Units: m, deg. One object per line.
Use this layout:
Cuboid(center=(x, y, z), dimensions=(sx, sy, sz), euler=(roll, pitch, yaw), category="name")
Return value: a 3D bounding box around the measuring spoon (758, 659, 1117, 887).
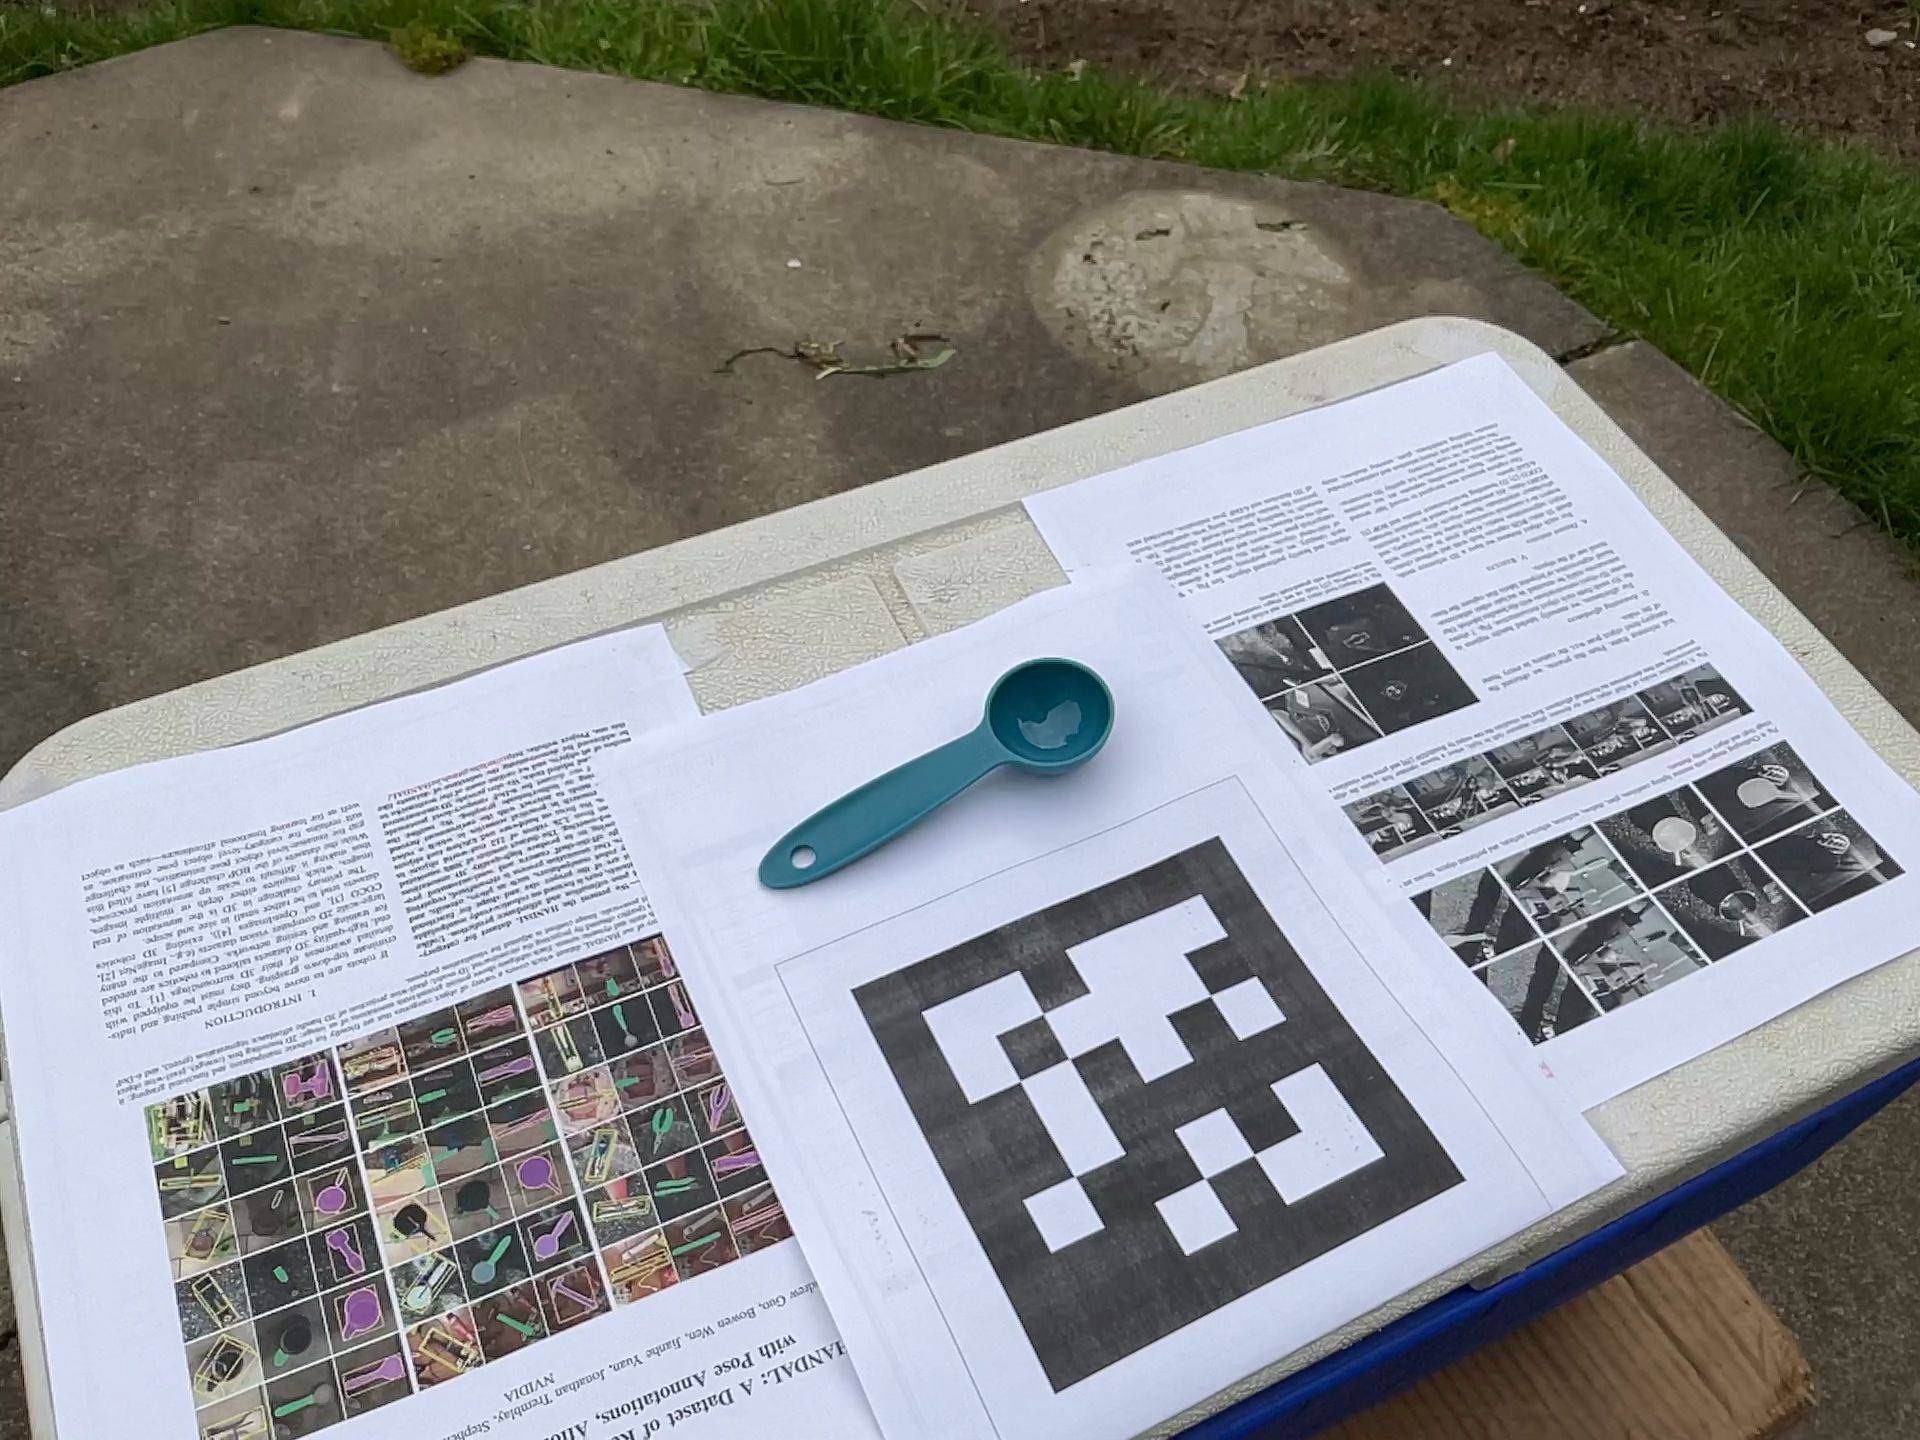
Cuboid(center=(-0.007, 0.023, 0.518), dimensions=(0.128, 0.021, 0.042), euler=(-29, 60, -11), category="measuring spoon")
